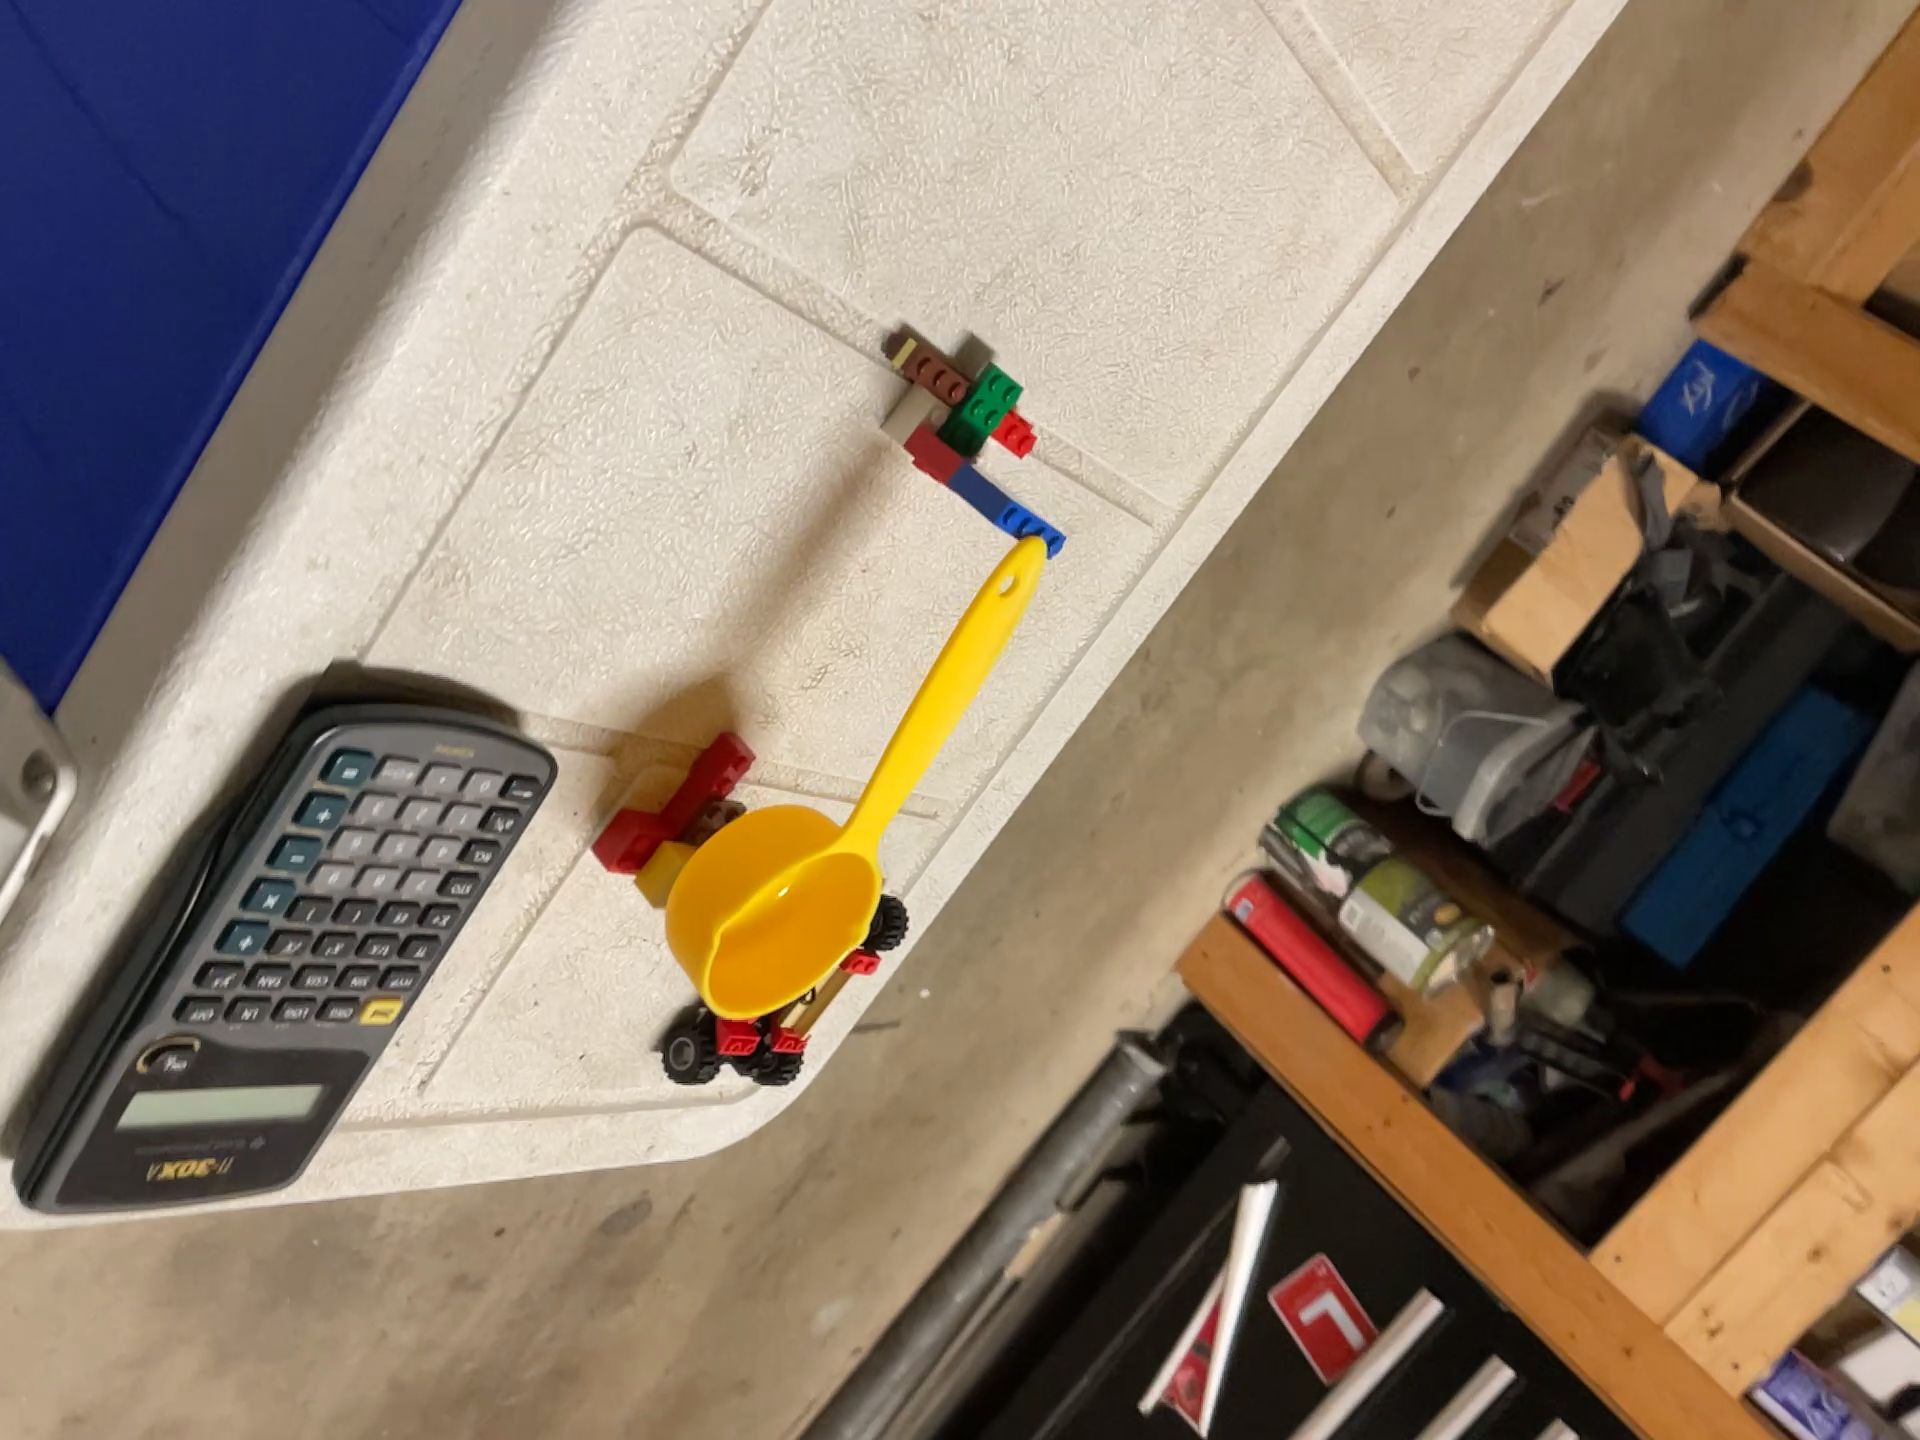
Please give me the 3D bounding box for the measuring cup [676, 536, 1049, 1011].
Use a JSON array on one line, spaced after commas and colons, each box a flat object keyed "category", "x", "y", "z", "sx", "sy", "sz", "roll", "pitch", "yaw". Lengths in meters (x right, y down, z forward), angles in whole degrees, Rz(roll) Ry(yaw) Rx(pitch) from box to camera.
[{"category": "measuring cup", "x": -0.027, "y": 0.011, "z": 0.440, "sx": 0.156, "sy": 0.029, "sz": 0.062, "roll": -57, "pitch": 148, "yaw": 11}]
